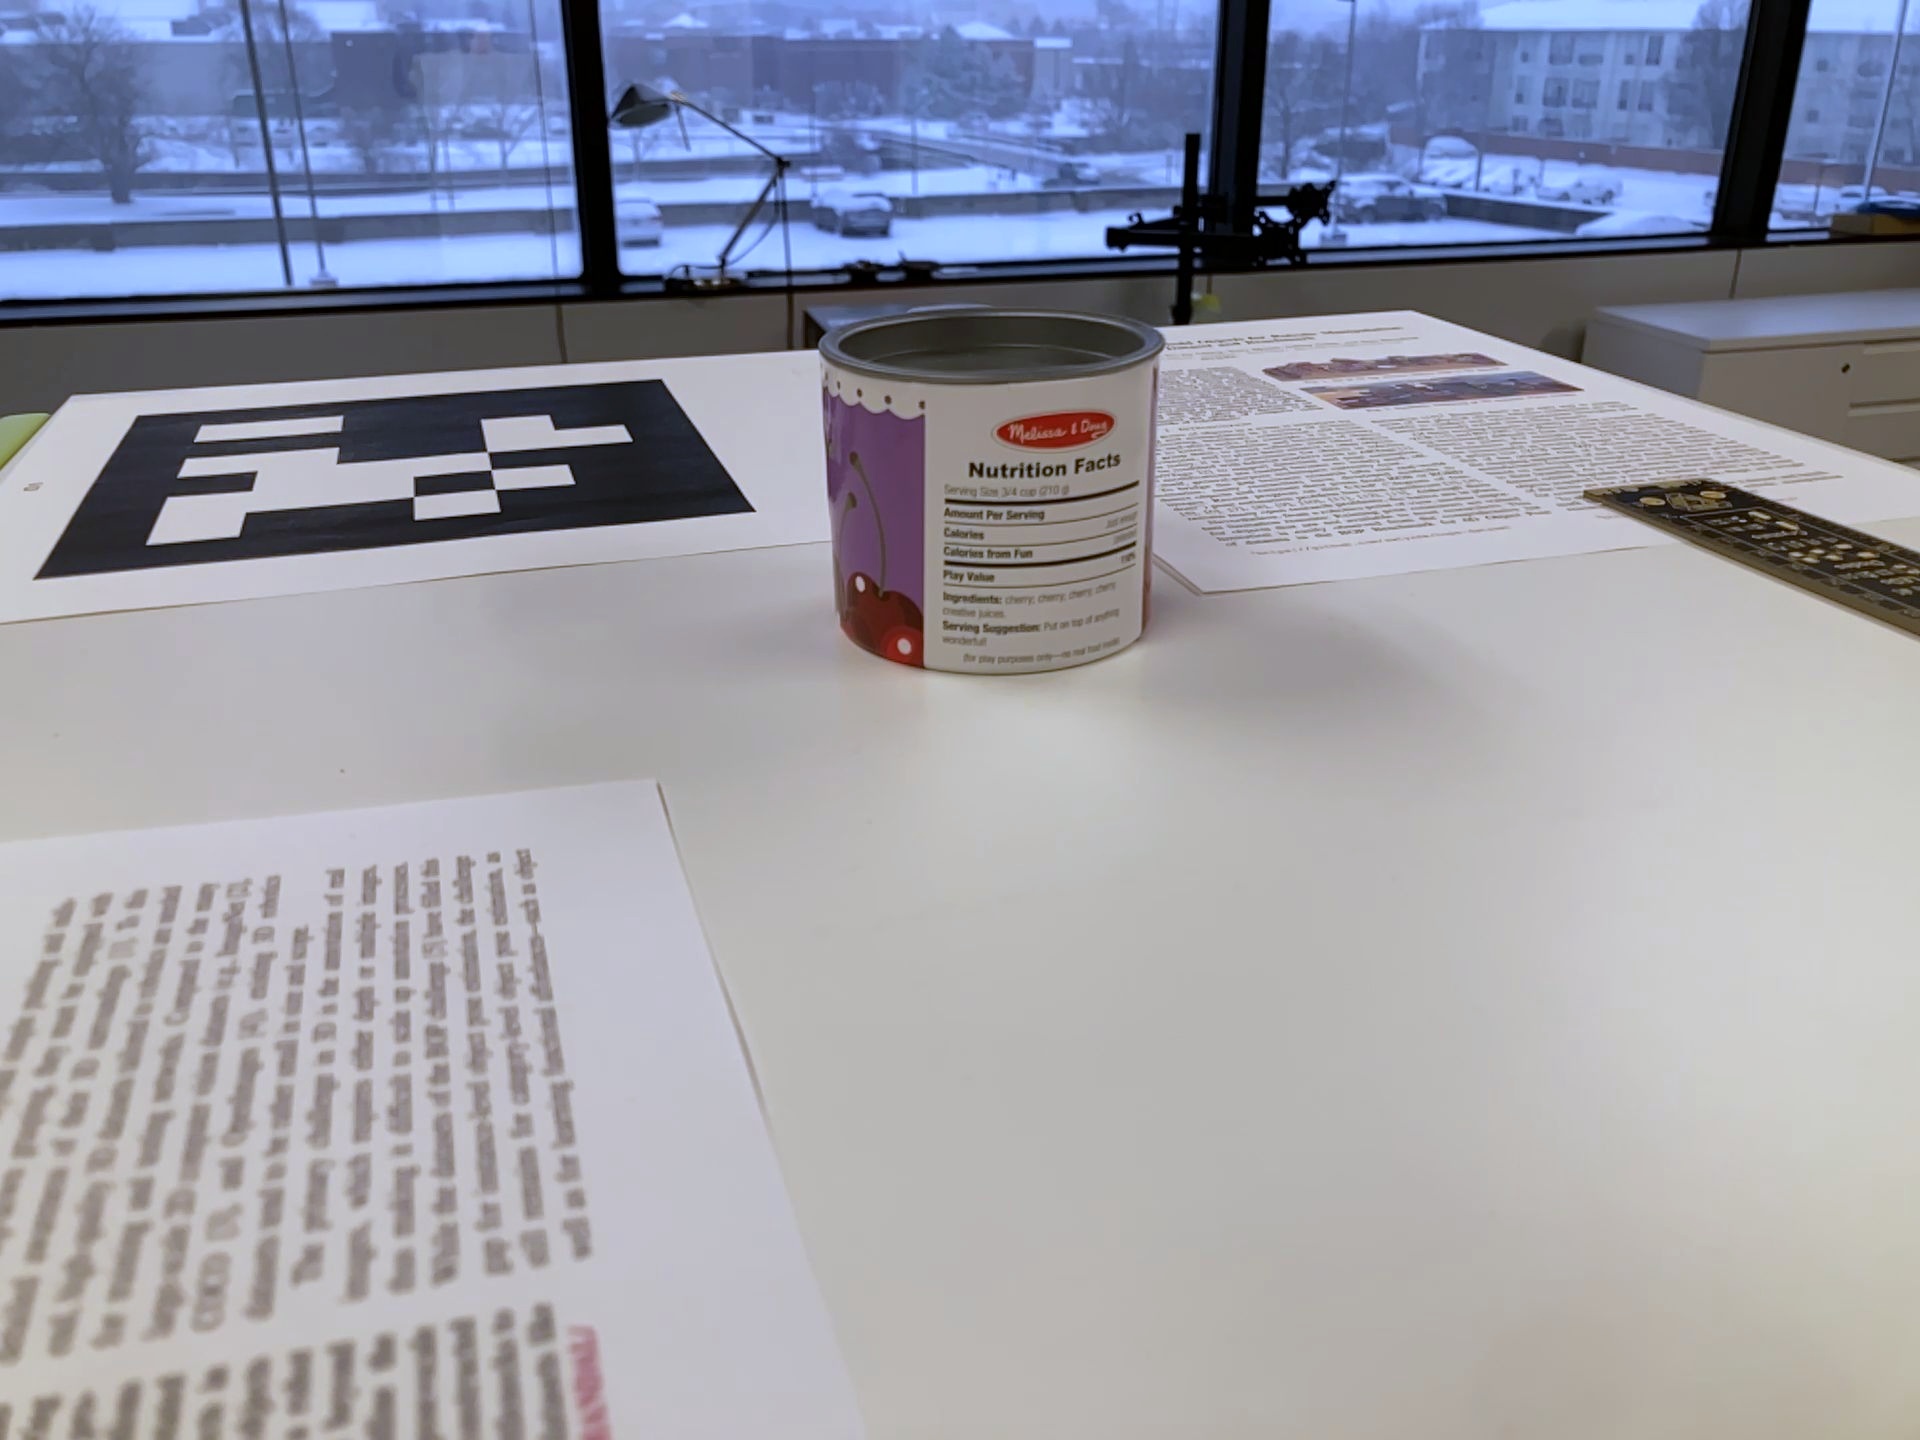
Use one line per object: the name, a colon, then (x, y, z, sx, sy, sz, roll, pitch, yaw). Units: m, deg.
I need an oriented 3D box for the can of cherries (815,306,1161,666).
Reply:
can of cherries: (0.005, -0.049, 0.318, 0.071, 0.058, 0.071, -1, 23, 0)
